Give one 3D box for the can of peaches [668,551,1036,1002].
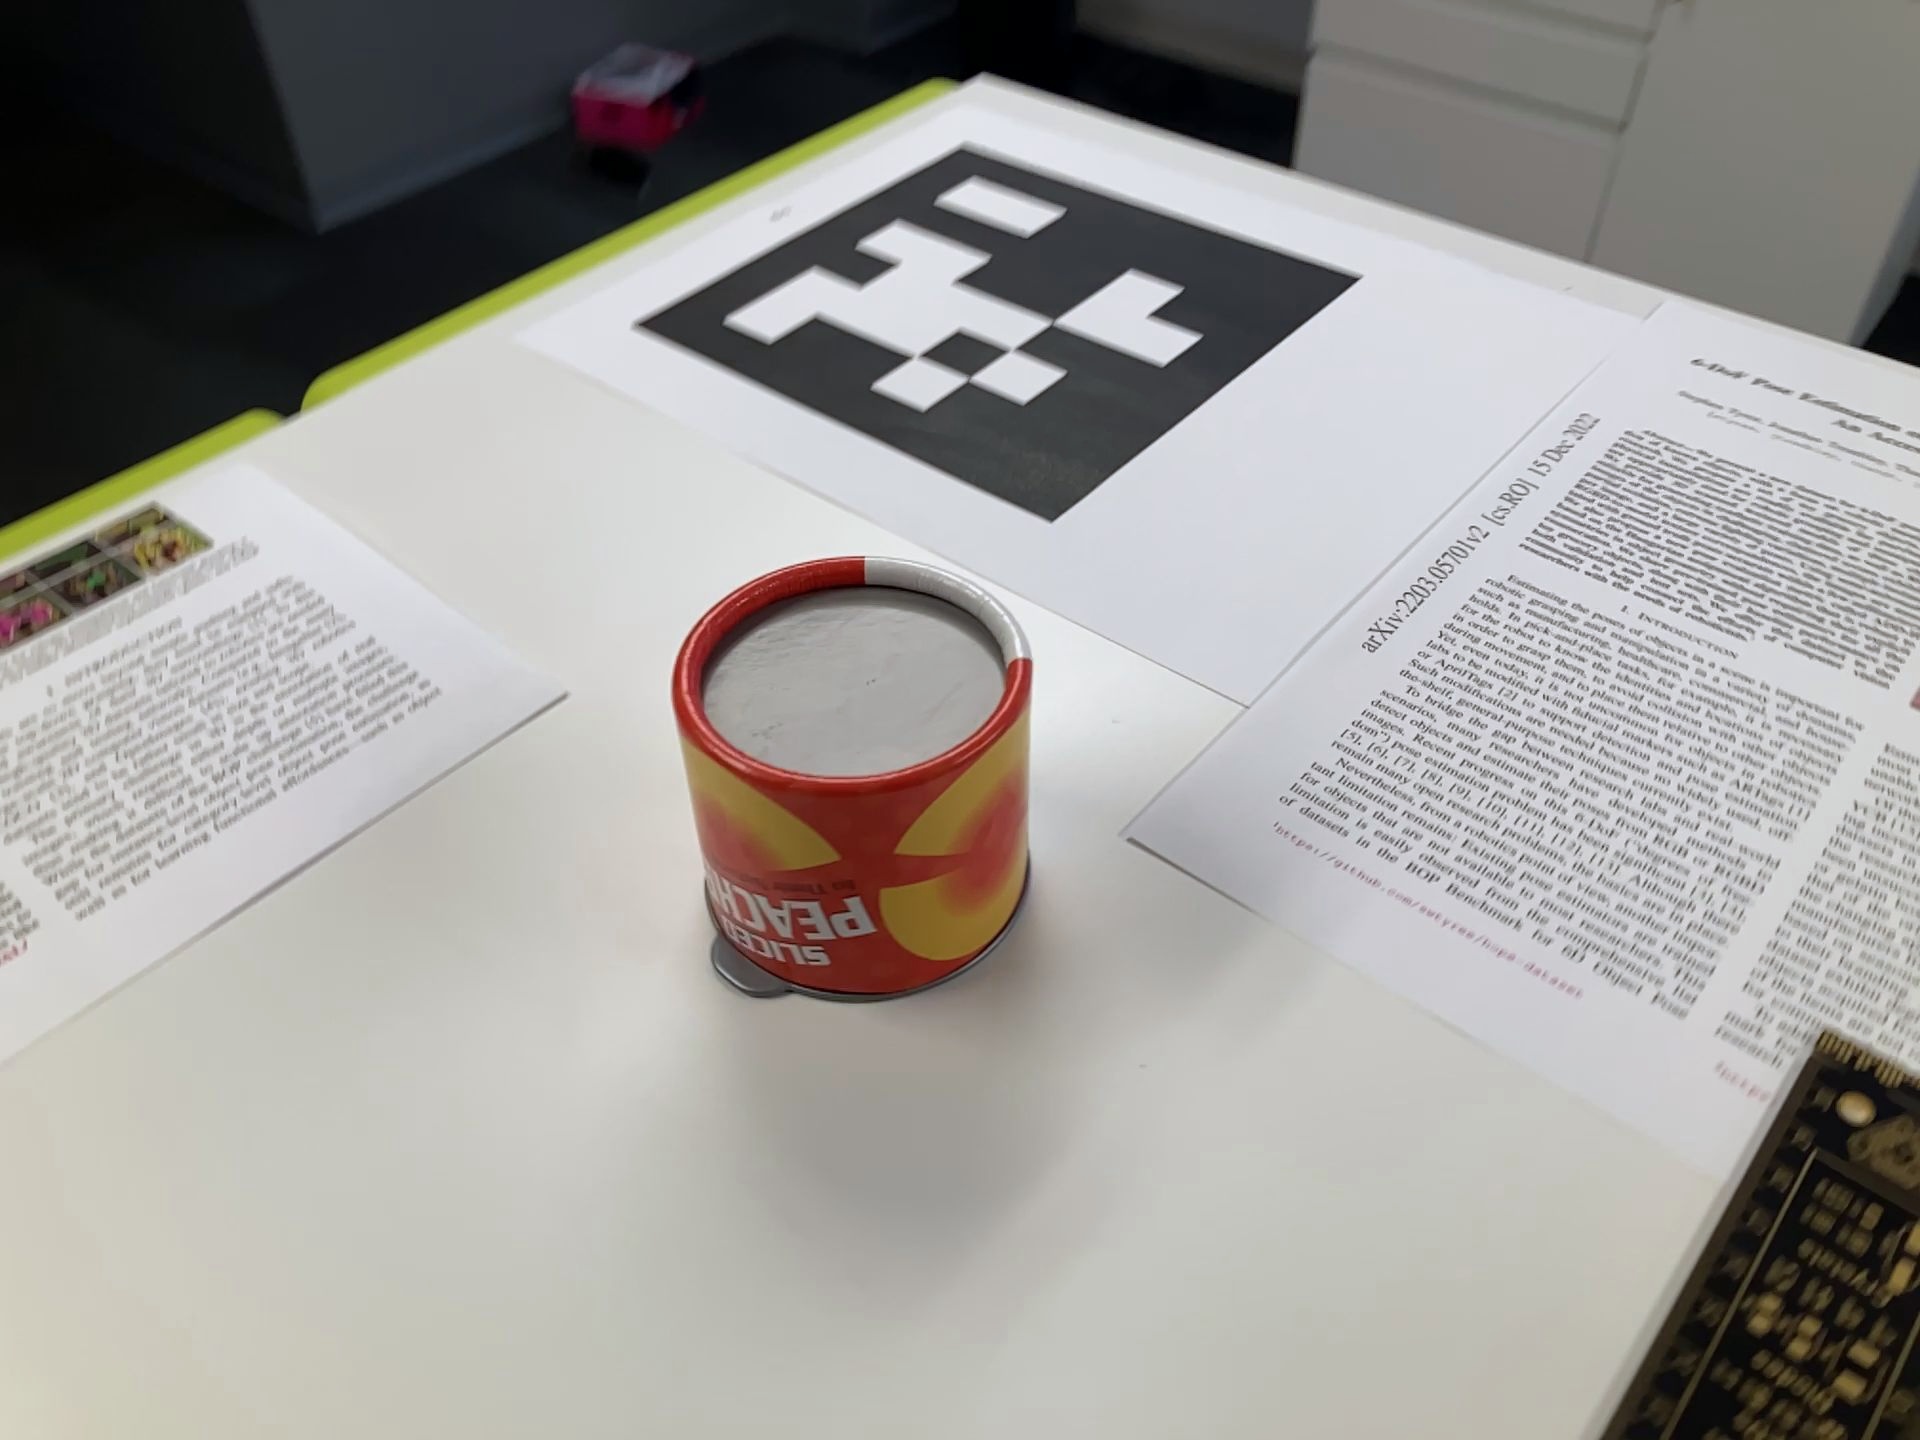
[{"bbox_3d":[-0.020,0.011,0.299,0.071,0.058,0.071,0,43,0],"label":"can of peaches"}]
